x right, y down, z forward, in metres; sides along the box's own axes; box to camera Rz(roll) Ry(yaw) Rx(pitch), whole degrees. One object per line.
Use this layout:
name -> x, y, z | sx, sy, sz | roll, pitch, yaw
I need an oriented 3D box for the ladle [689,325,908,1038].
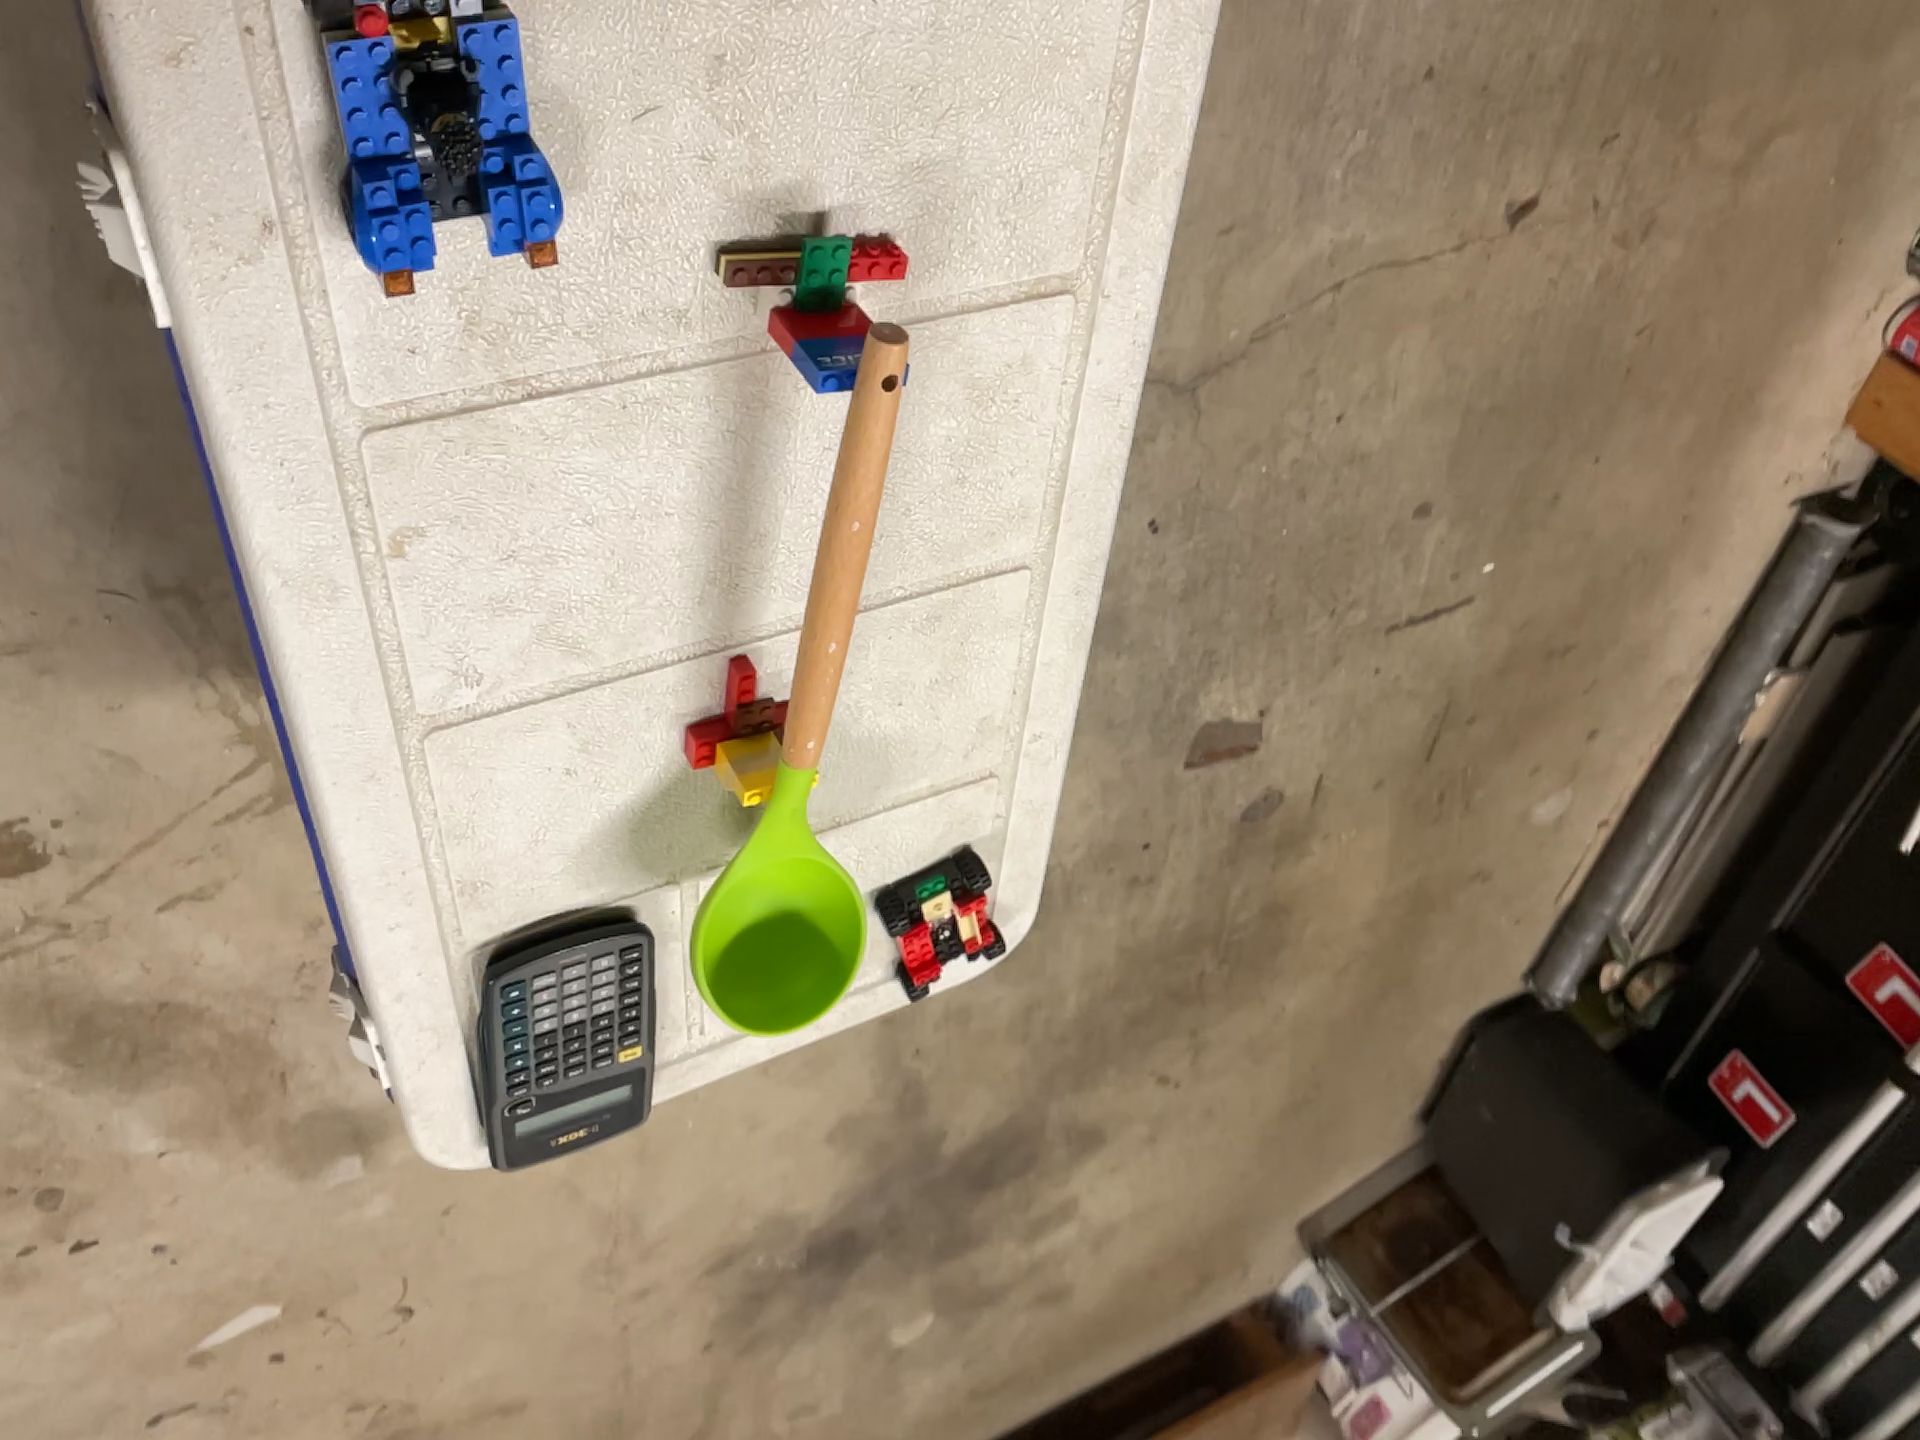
ladle -> -0.051, 0.004, 0.586 | 0.078, 0.062, 0.319 | -12, 139, -28
